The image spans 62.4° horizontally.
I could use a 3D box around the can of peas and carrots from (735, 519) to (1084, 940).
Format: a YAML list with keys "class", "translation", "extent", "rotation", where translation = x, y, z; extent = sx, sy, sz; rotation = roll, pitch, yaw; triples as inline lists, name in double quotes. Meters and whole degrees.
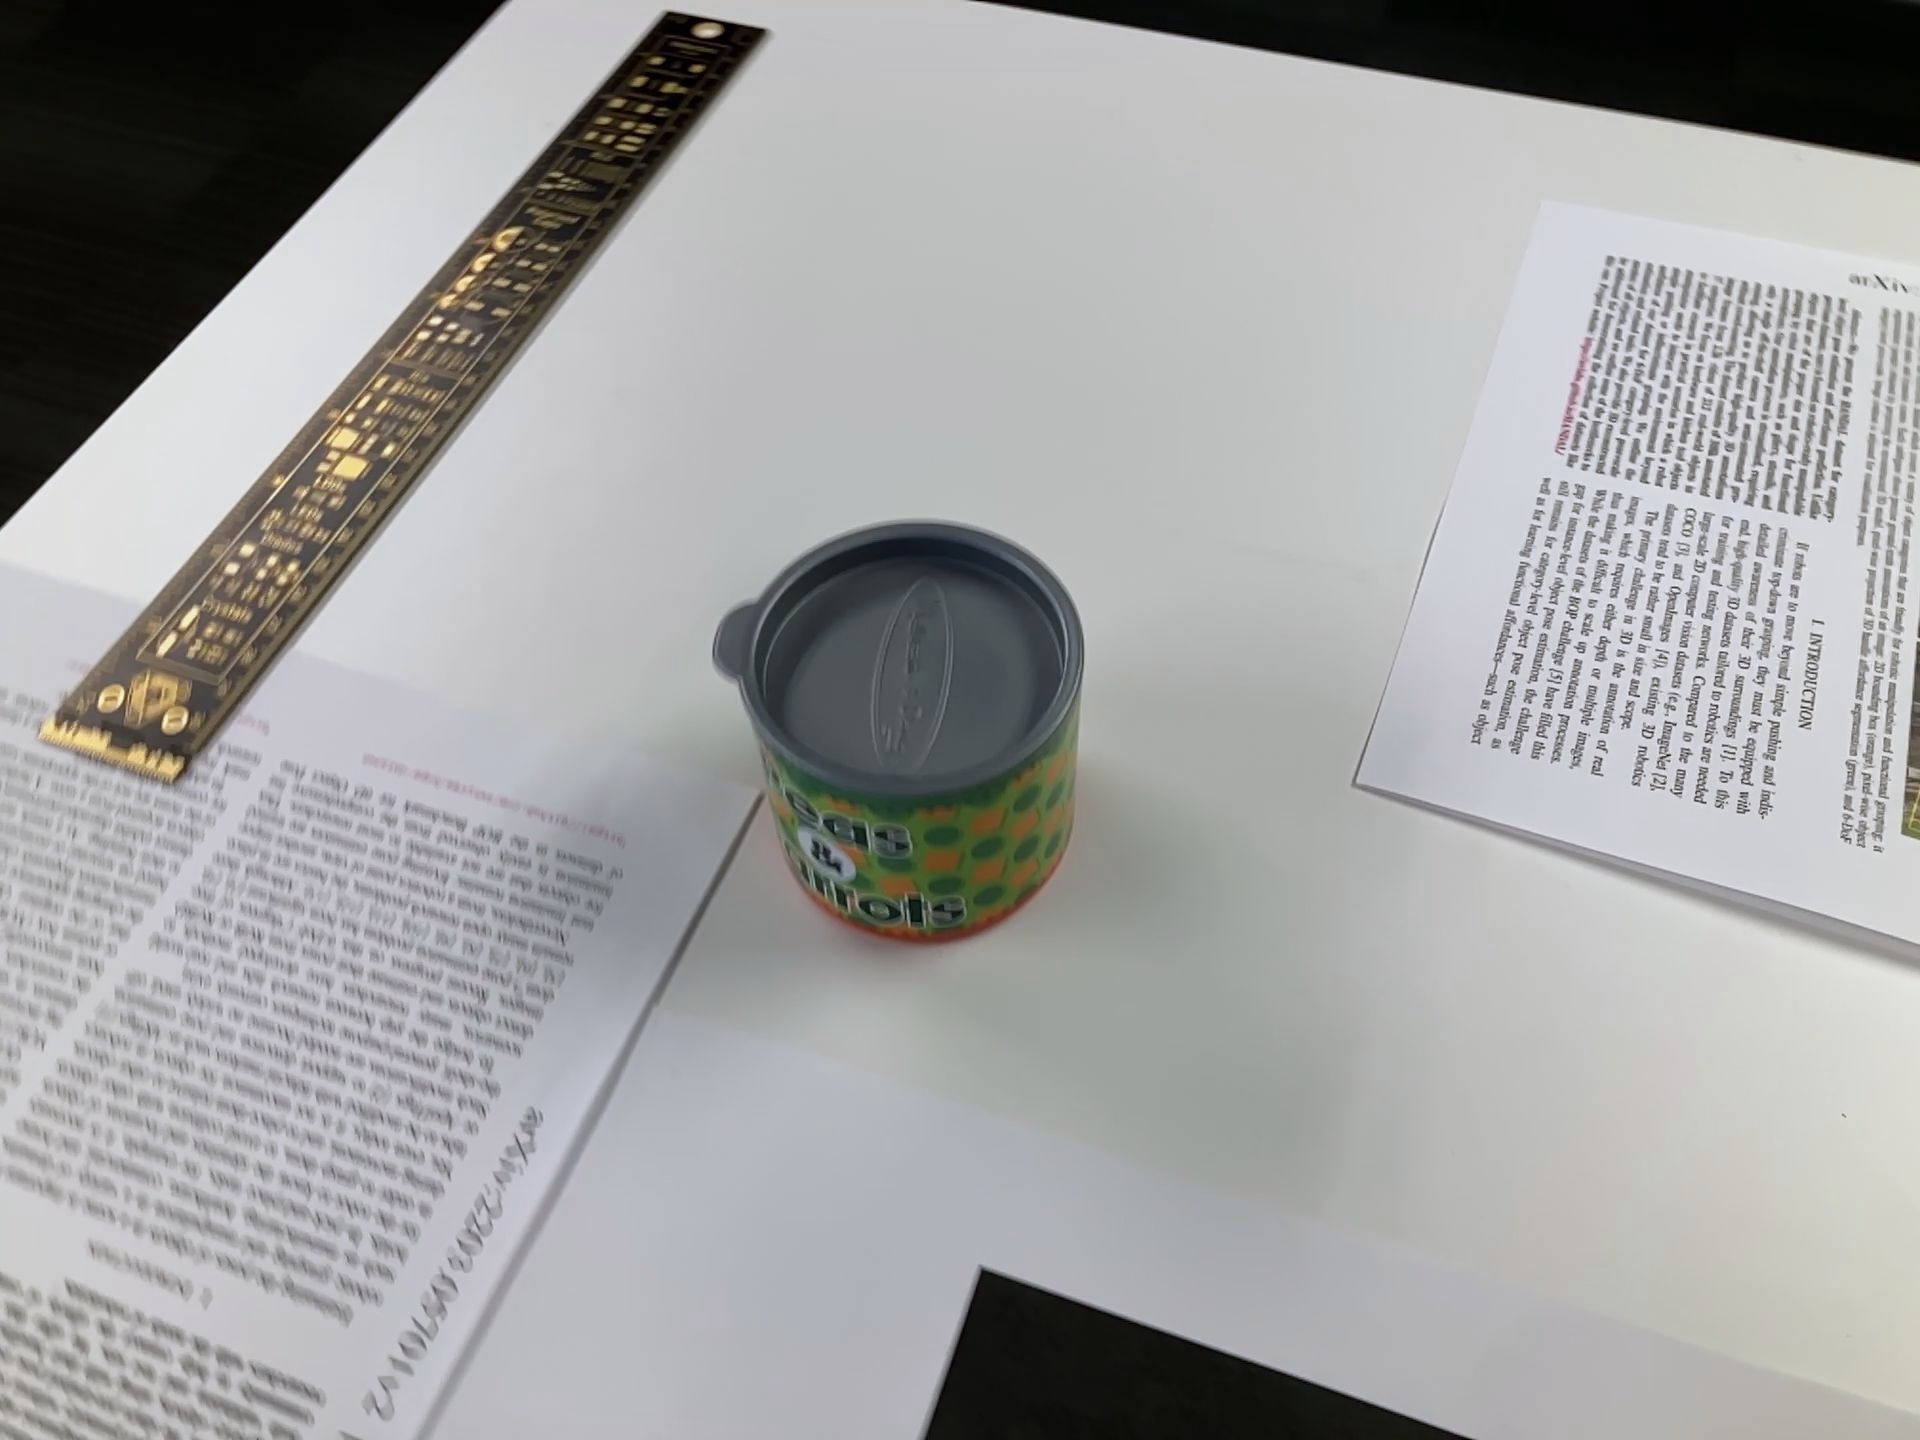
- class: "can of peas and carrots"
  translation: [-0.010, 0.005, 0.322]
  extent: [0.071, 0.059, 0.071]
  rotation: [-1, 54, 1]
